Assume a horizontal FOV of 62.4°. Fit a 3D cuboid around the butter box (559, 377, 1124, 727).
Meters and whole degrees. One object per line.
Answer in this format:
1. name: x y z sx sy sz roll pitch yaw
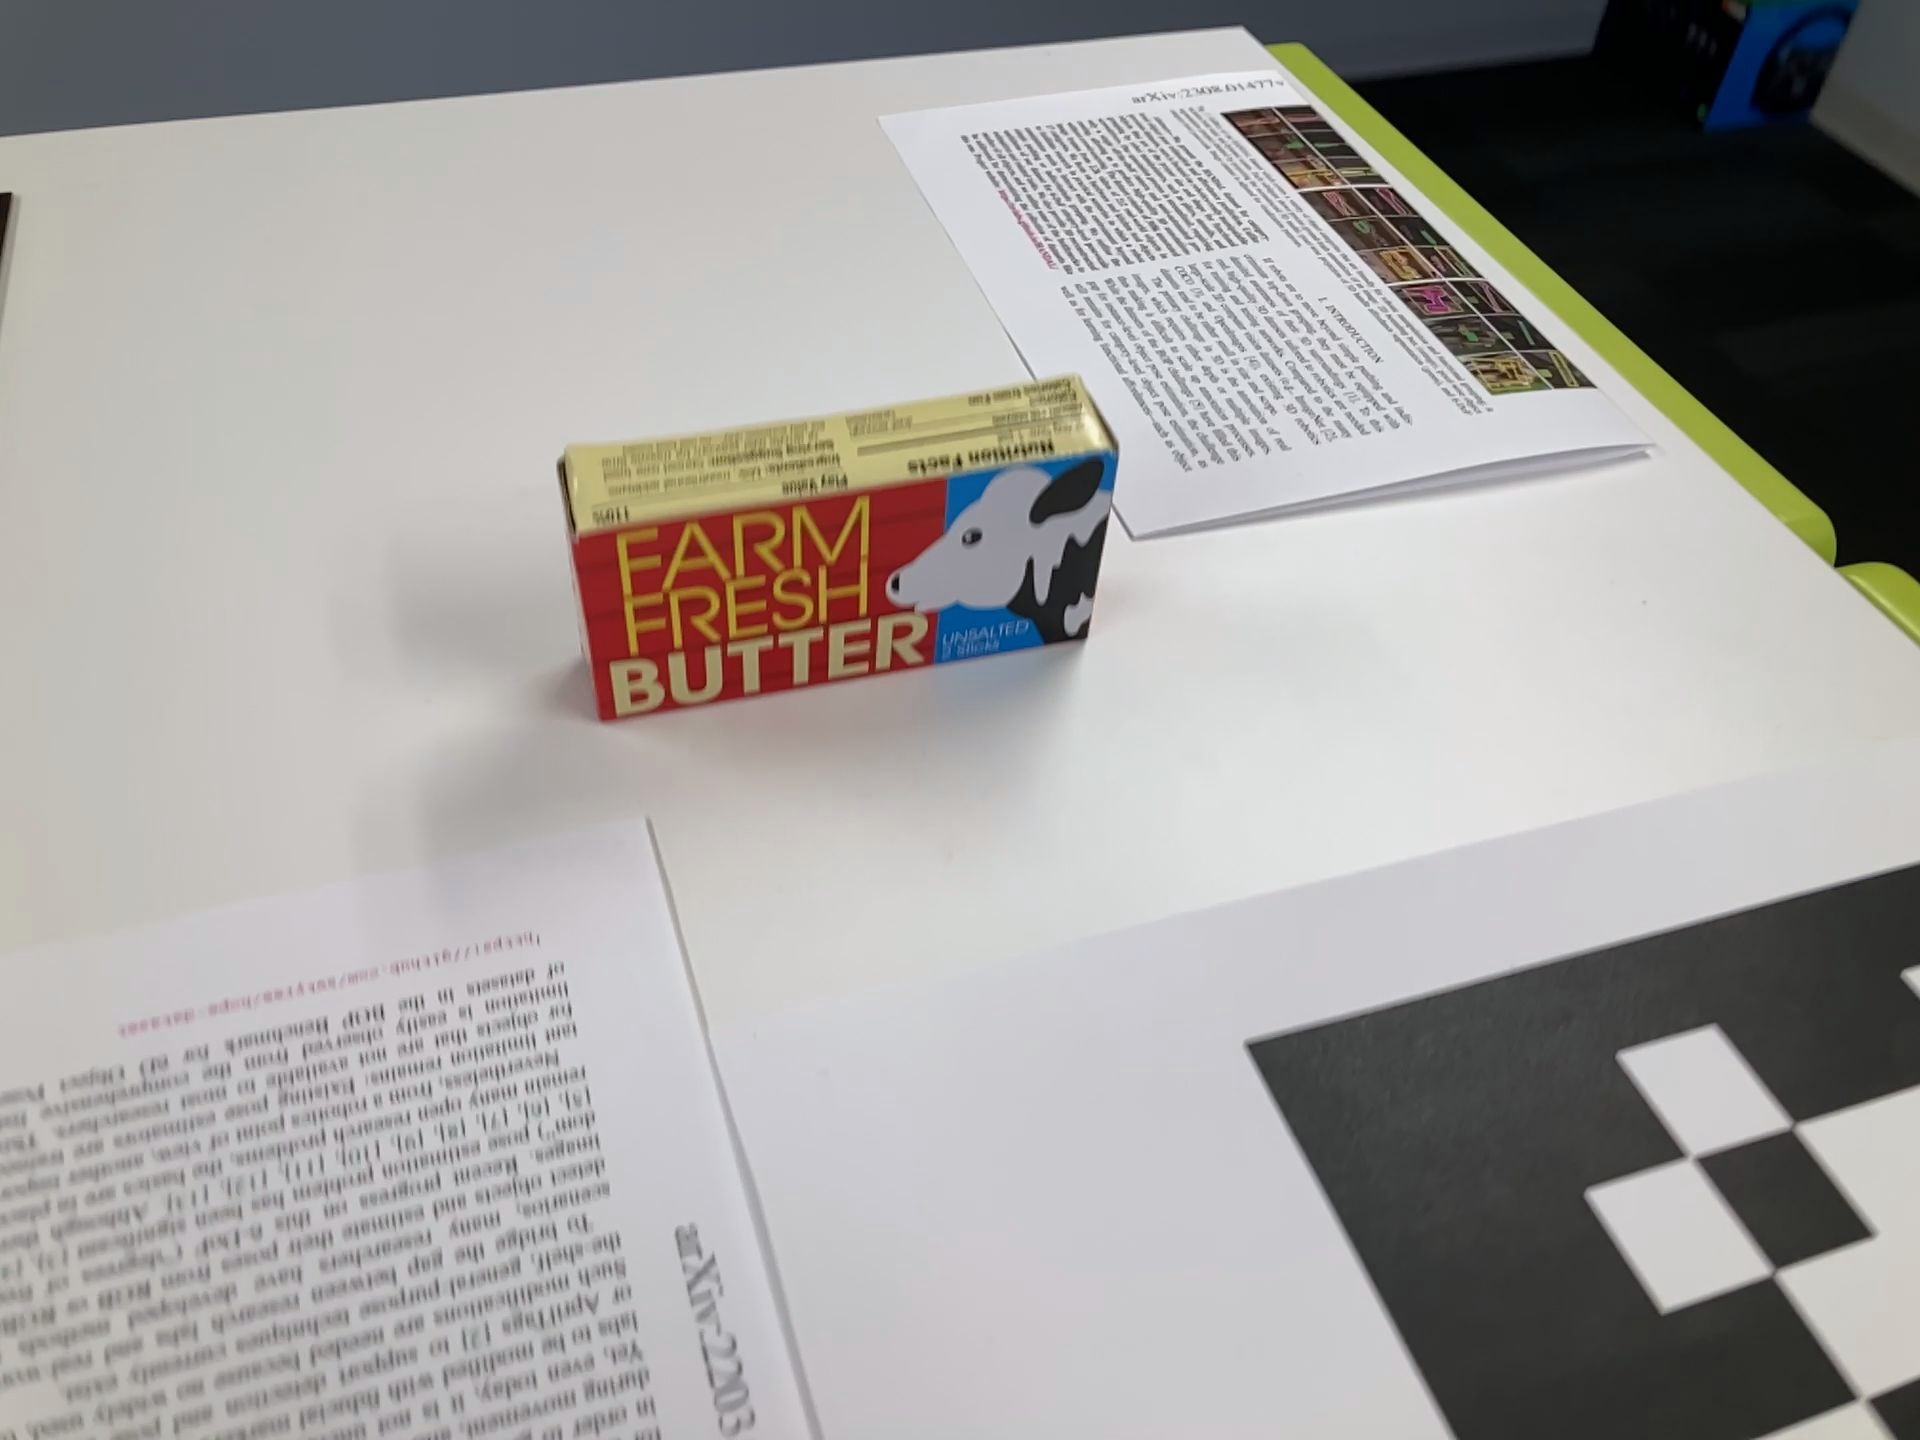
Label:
1. butter box: -0.023 -0.032 0.307 0.103 0.053 0.024 -11 50 -14
